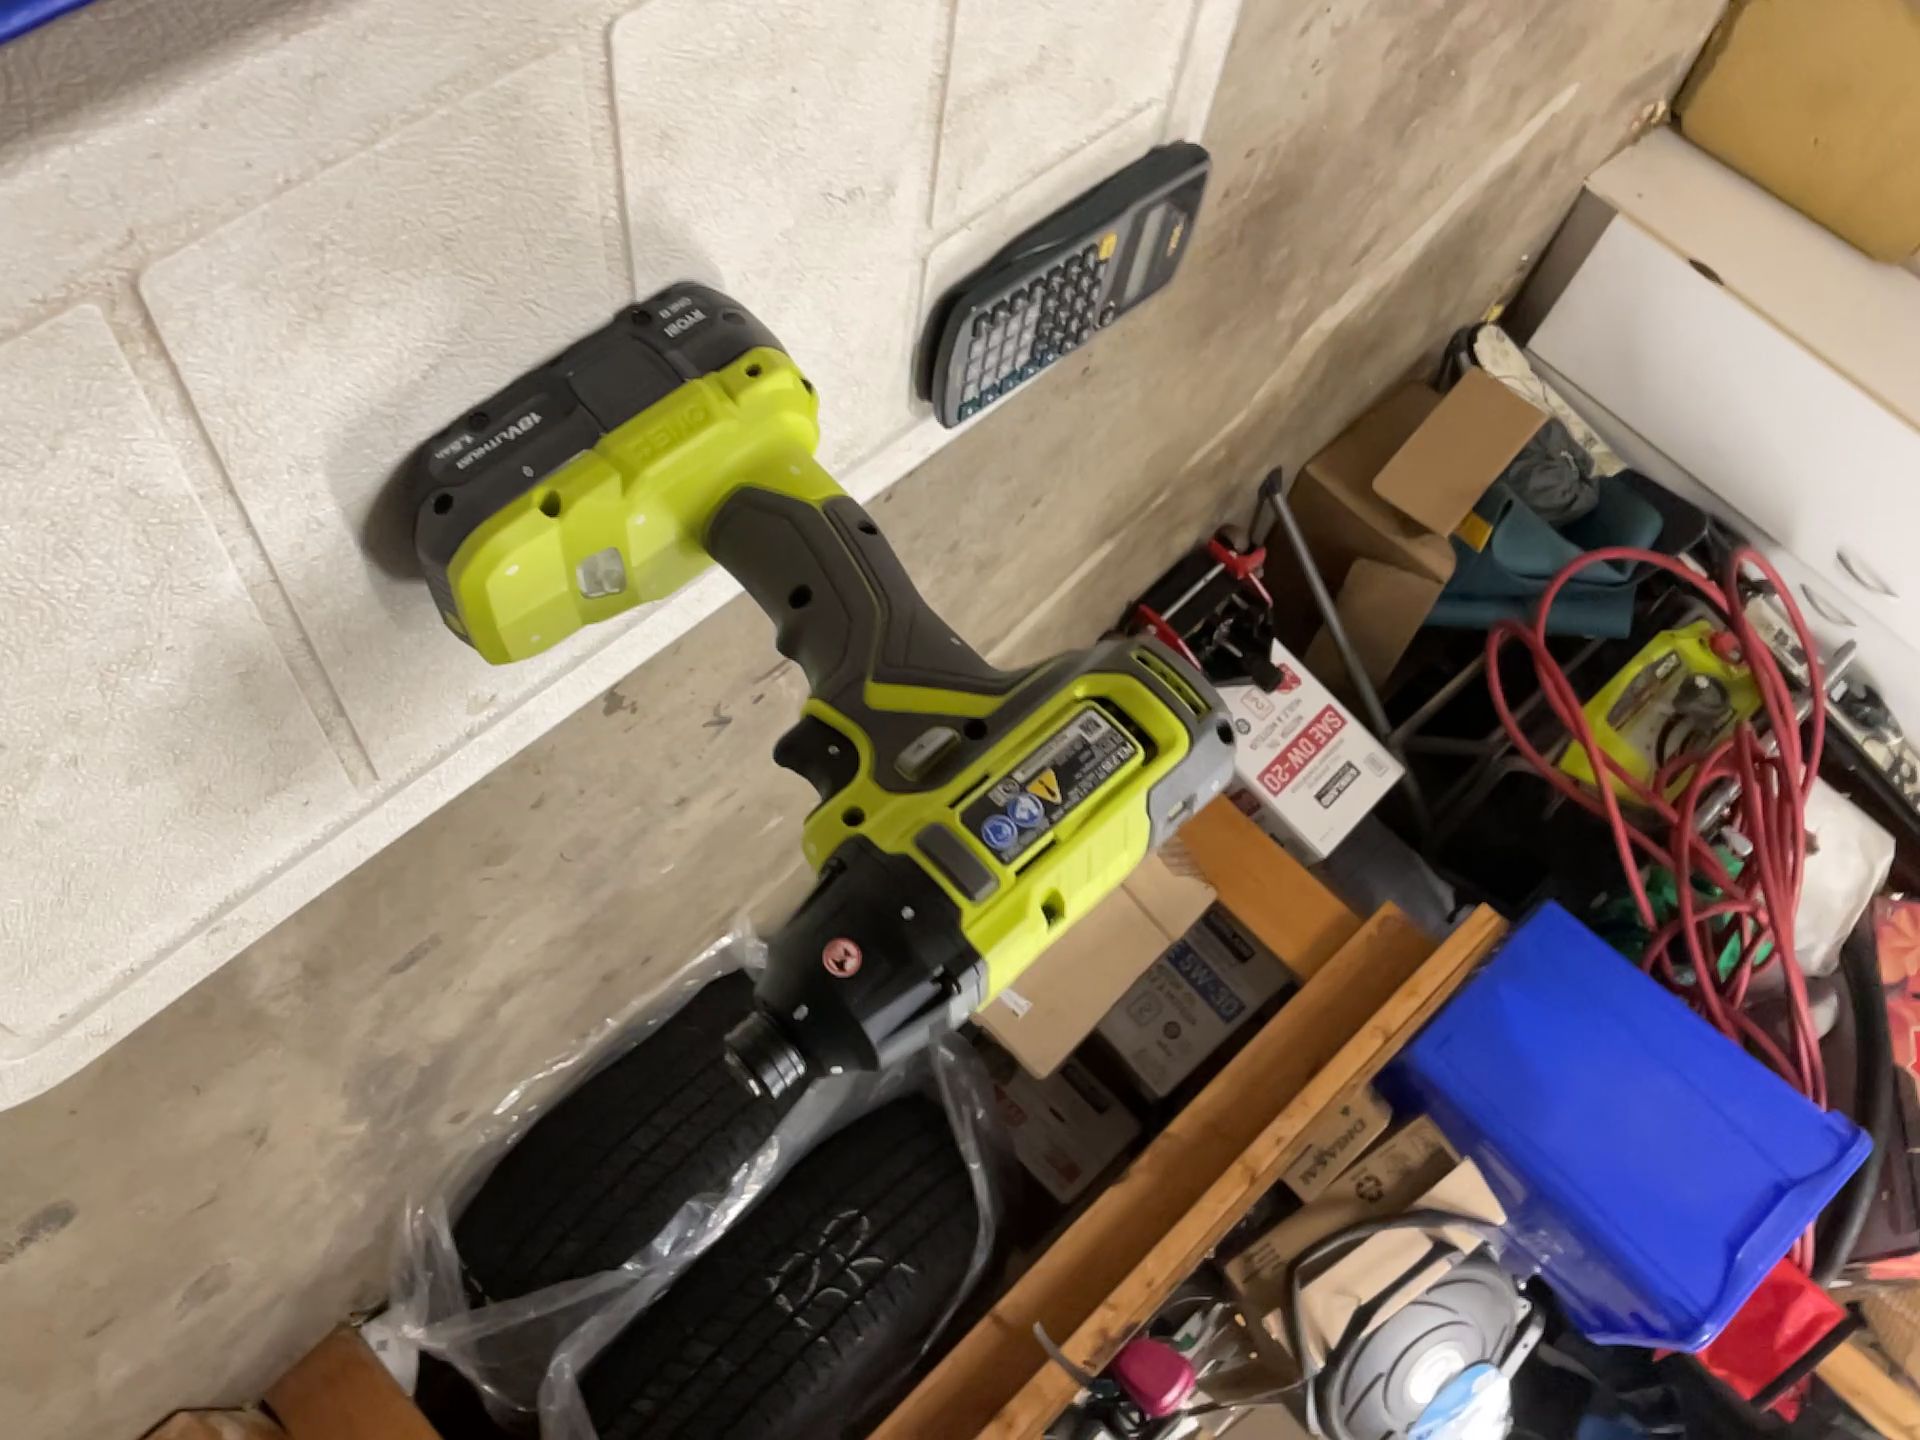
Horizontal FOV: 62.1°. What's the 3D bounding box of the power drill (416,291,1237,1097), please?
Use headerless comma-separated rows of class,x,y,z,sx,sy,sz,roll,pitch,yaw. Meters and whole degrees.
power drill,-0.052,-0.012,0.479,0.171,0.223,0.080,-39,162,-21
